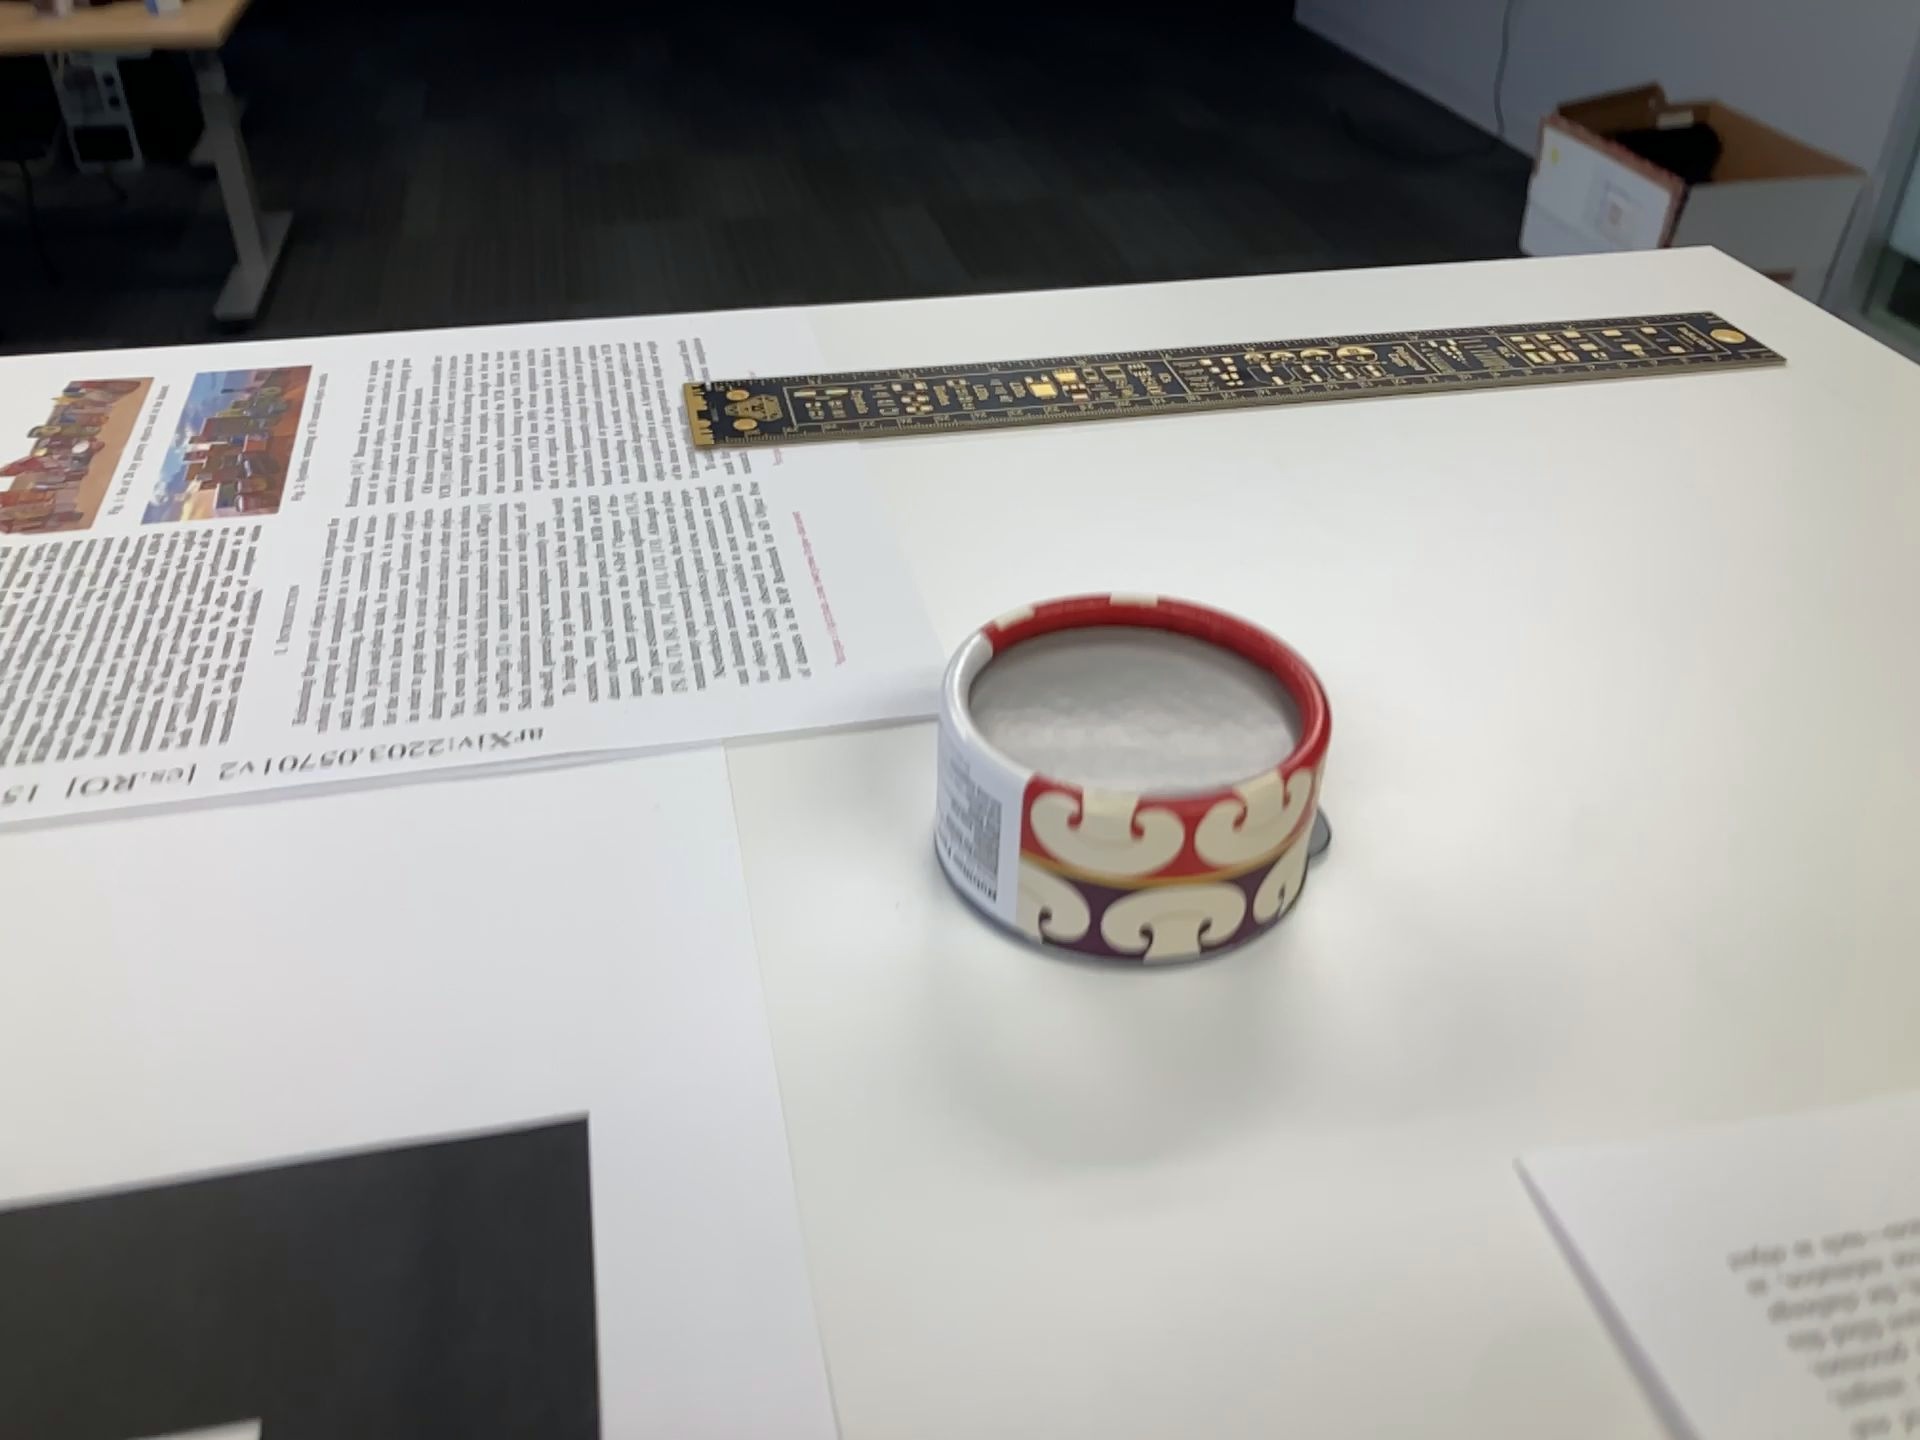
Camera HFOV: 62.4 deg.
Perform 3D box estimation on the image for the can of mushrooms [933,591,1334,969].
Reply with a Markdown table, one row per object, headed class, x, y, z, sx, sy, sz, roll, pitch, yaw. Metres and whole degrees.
| class | x | y | z | sx | sy | sz | roll | pitch | yaw |
| --- | --- | --- | --- | --- | --- | --- | --- | --- | --- |
| can of mushrooms | 0.031 | 0.008 | 0.272 | 0.071 | 0.033 | 0.071 | 1 | 35 | -1 |
